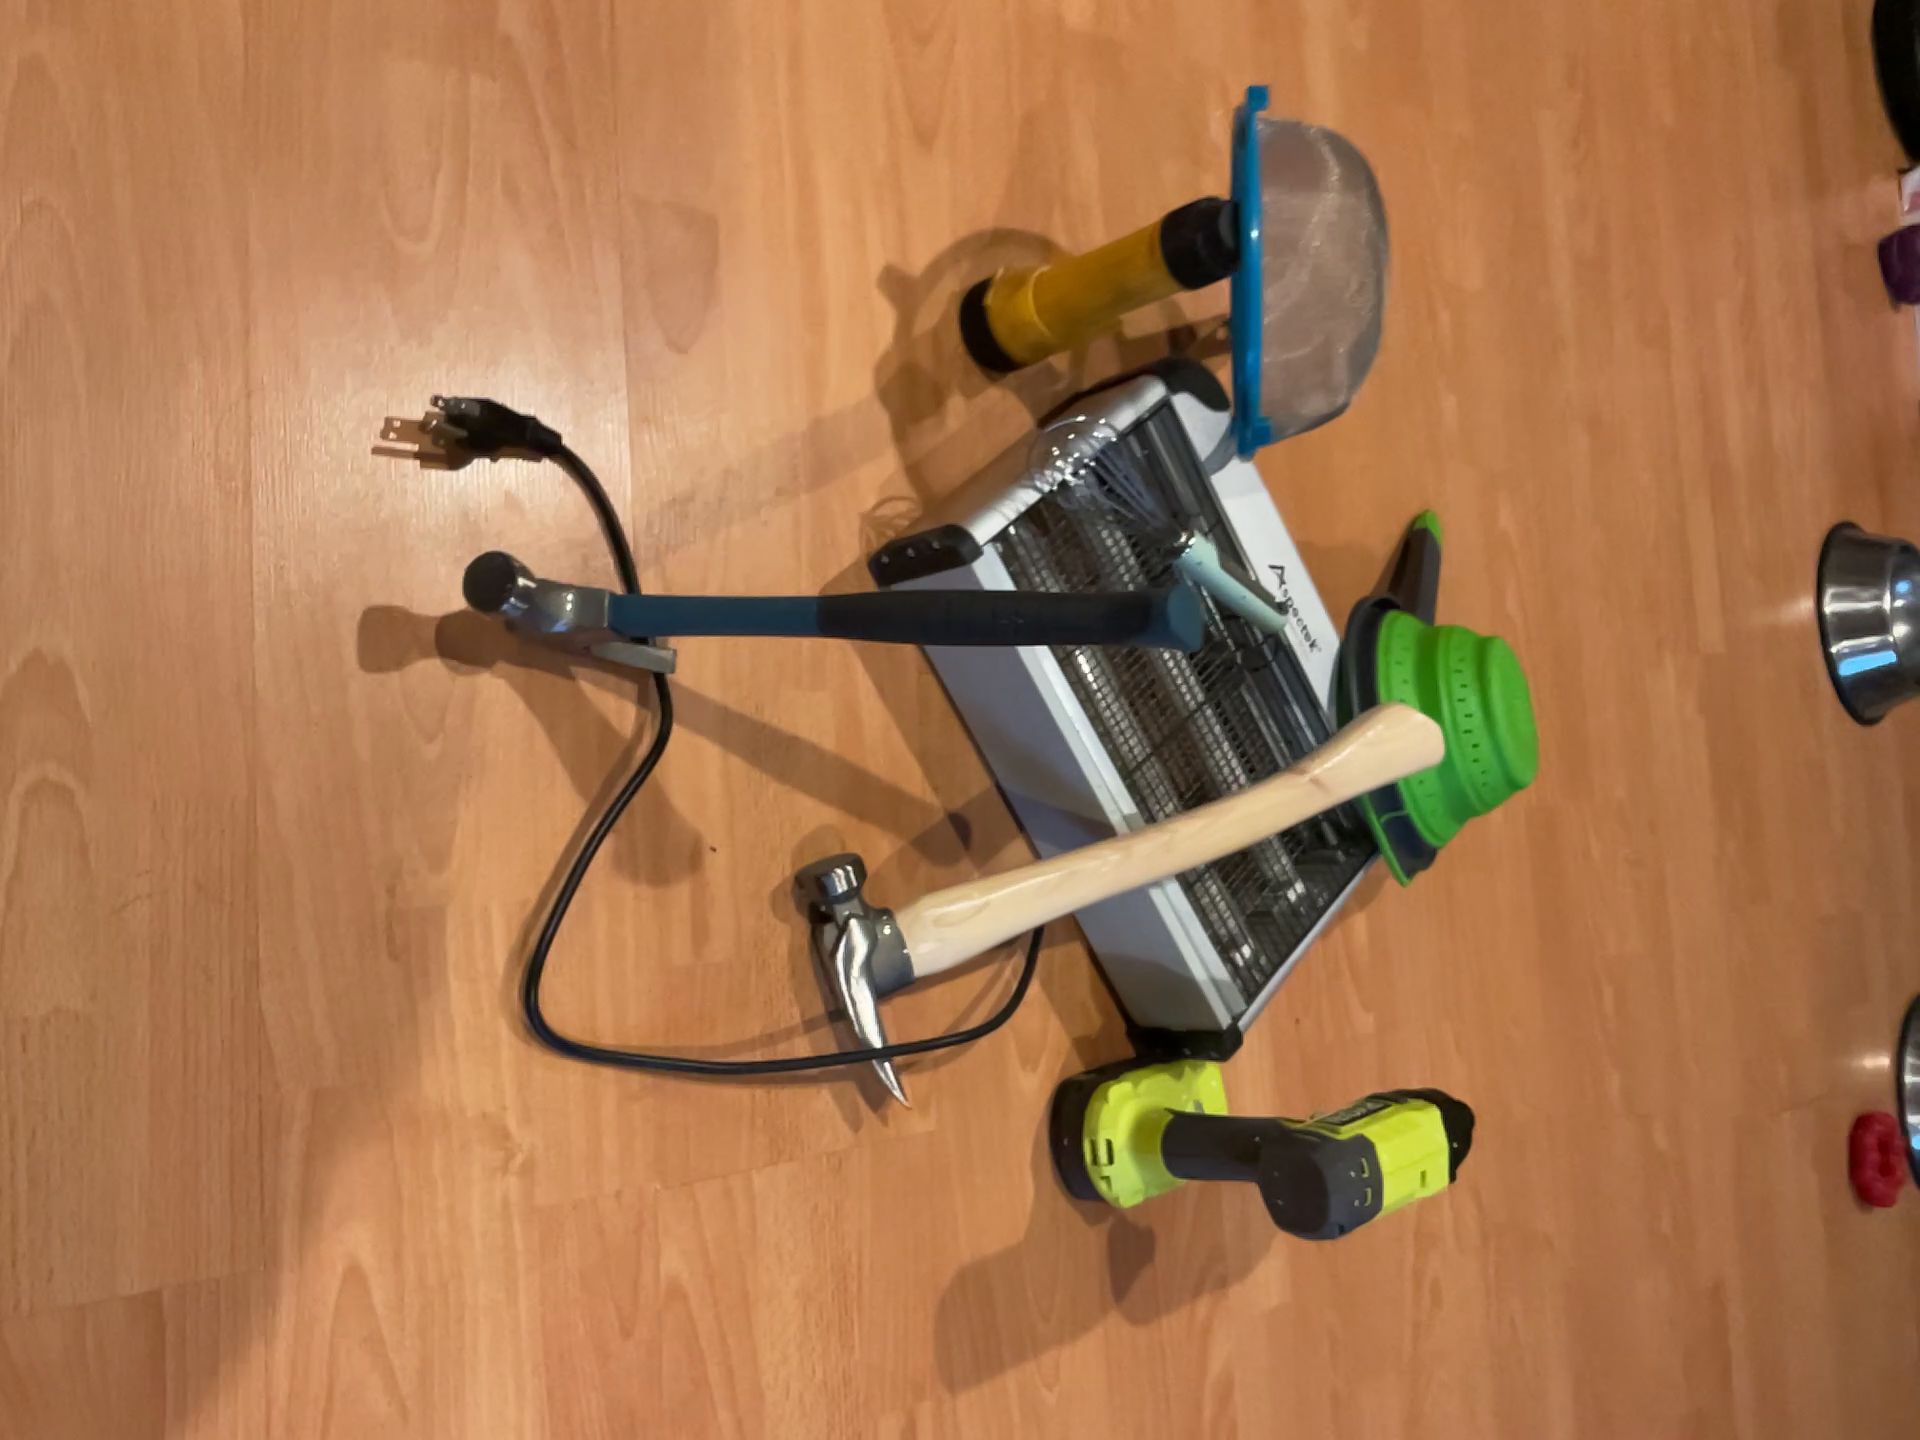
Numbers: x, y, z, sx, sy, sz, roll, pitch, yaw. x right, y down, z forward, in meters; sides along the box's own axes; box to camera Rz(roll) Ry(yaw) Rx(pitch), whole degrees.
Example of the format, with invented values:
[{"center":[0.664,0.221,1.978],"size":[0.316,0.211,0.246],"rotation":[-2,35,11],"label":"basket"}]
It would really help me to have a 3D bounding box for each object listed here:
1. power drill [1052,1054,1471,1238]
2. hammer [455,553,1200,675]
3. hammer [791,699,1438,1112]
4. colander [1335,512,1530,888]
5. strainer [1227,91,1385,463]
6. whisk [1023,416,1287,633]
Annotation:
[{"center":[0.181,0.251,0.968],"size":[0.171,0.223,0.080],"rotation":[-5,88,-43],"label":"power drill"},{"center":[-0.055,-0.049,0.755],"size":[0.128,0.331,0.033],"rotation":[49,42,-77],"label":"hammer"},{"center":[0.112,0.088,0.950],"size":[0.411,0.038,0.146],"rotation":[-20,97,-18],"label":"hammer"},{"center":[0.371,-0.049,1.207],"size":[0.204,0.094,0.397],"rotation":[59,35,-28],"label":"colander"},{"center":[0.222,-0.274,1.042],"size":[0.340,0.095,0.210],"rotation":[-38,127,-76],"label":"strainer"},{"center":[0.127,-0.113,0.979],"size":[0.246,0.059,0.058],"rotation":[30,36,-39],"label":"whisk"}]
